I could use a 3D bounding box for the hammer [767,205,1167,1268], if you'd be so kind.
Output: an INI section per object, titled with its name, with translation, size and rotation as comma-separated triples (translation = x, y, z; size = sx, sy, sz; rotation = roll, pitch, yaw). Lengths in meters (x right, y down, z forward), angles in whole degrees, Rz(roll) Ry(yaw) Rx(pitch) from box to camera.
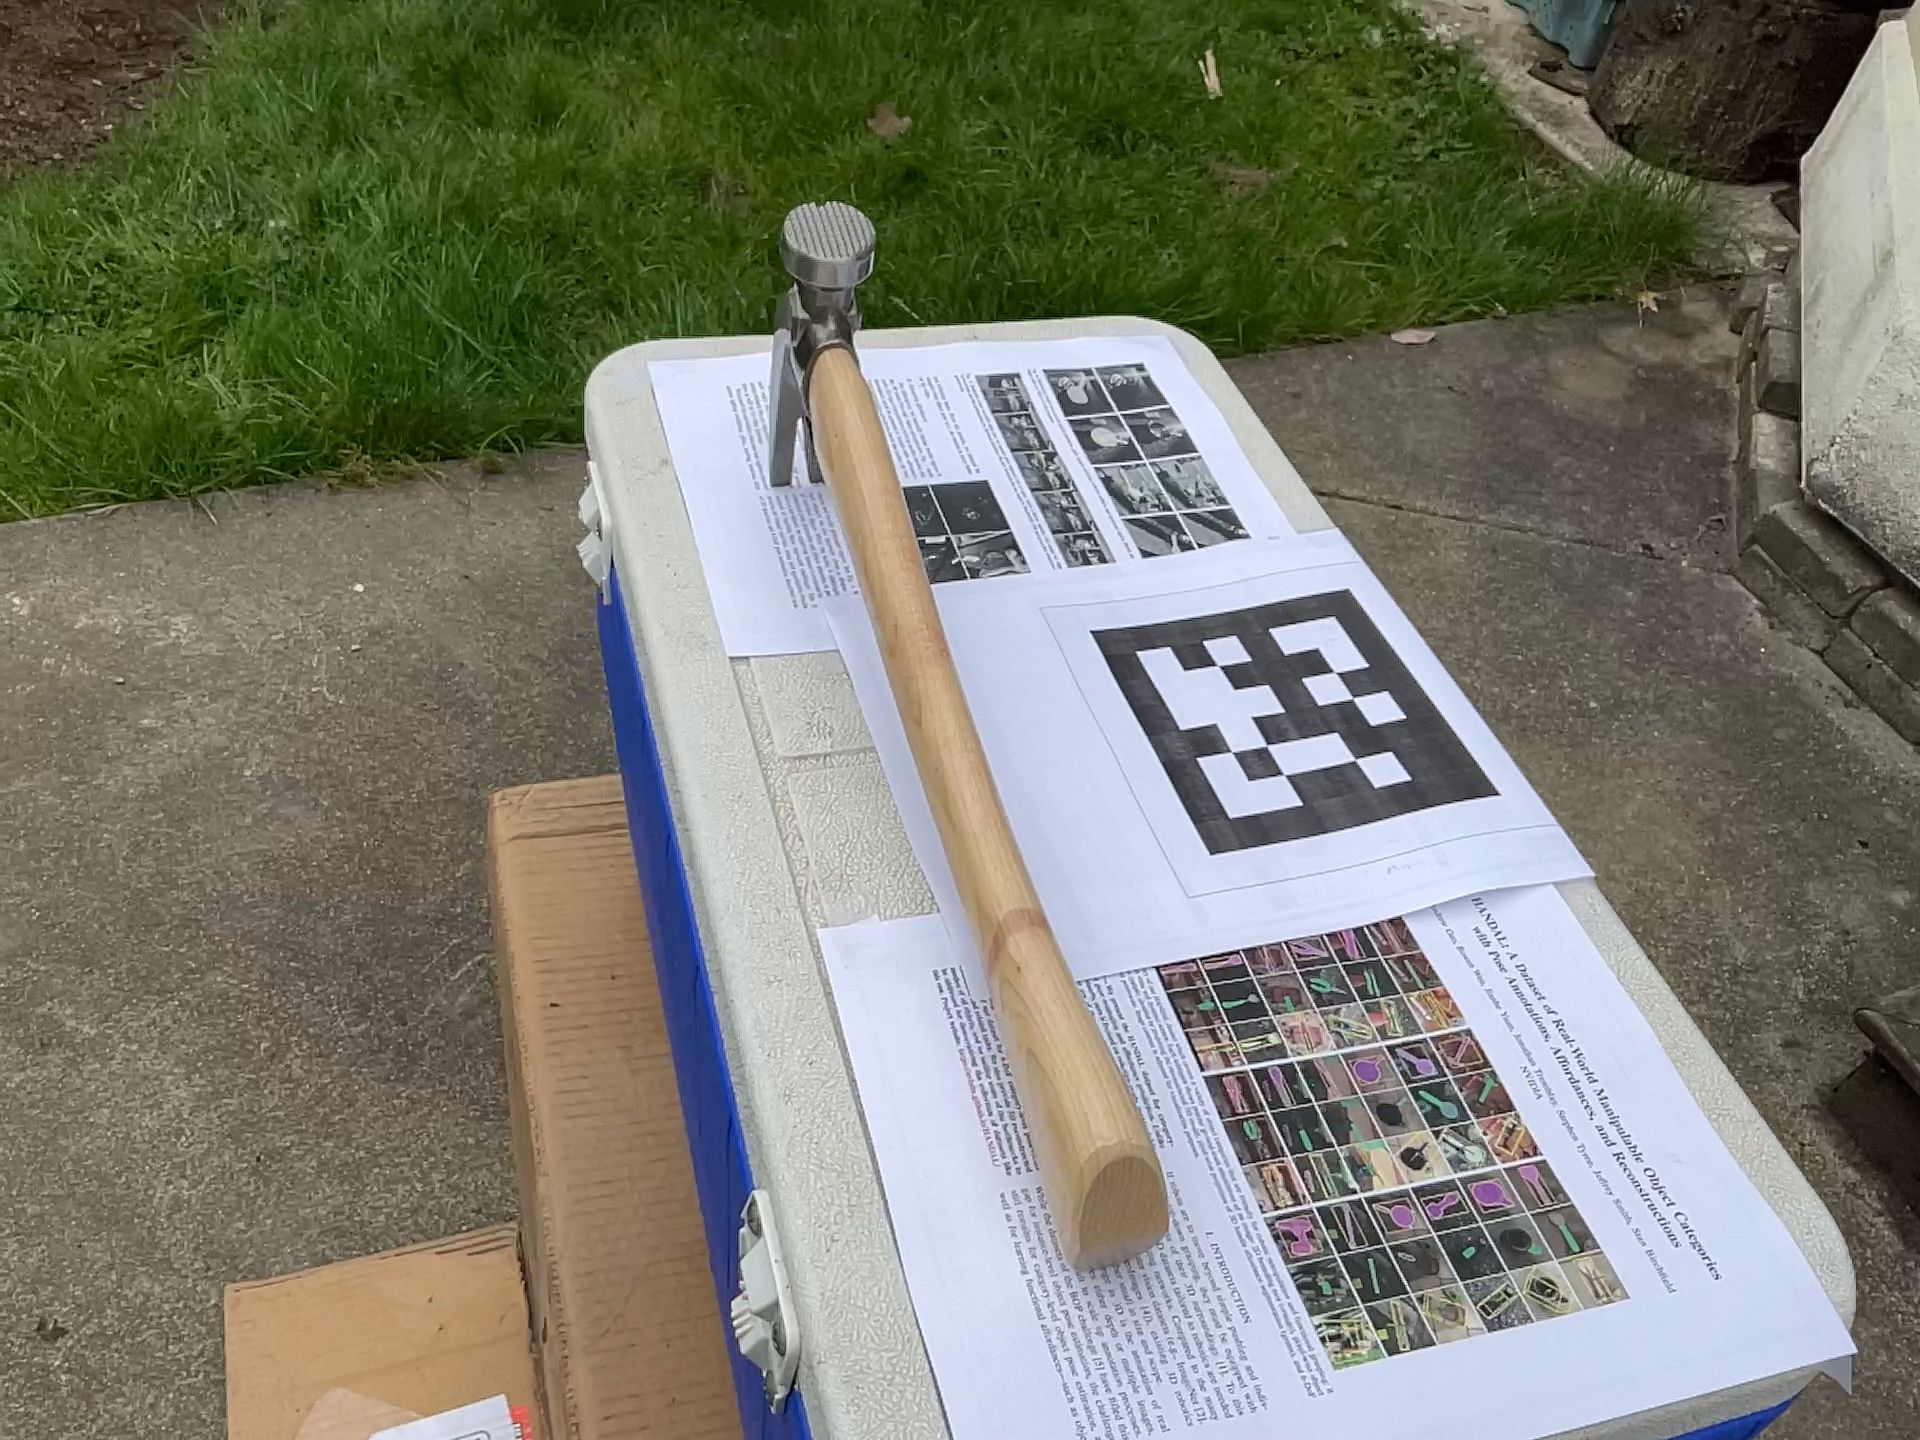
[hammer]
translation = -0.012, -0.002, 0.592
size = 0.038, 0.146, 0.411
rotation = -8, 57, -16
